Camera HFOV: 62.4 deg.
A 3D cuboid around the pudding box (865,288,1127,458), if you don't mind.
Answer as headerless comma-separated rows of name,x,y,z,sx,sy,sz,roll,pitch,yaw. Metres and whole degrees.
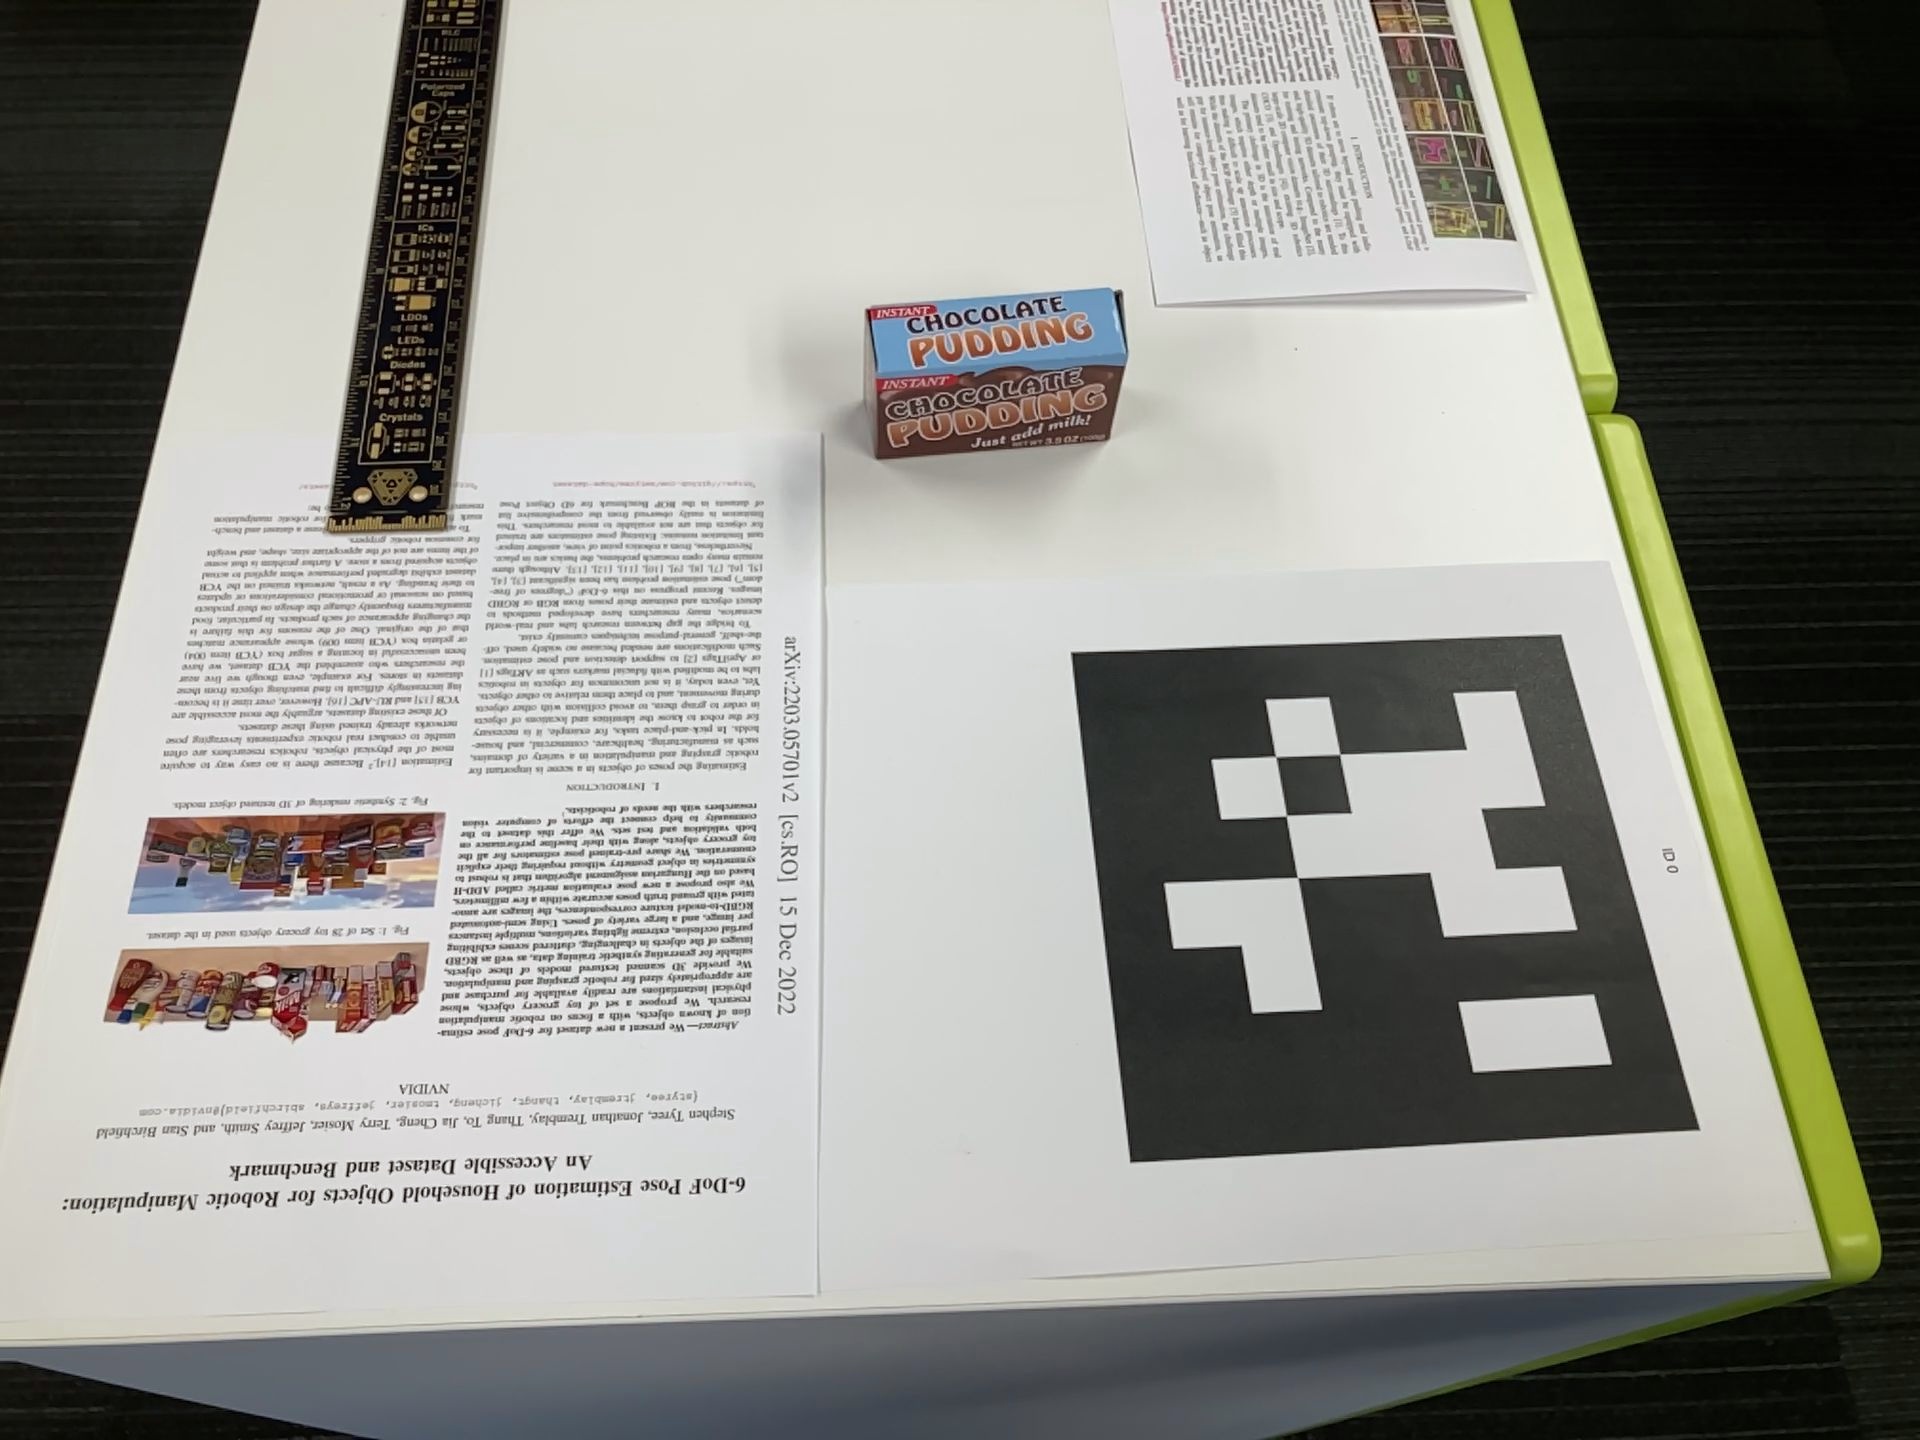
pudding box,0.011,-0.116,0.530,0.083,0.049,0.030,-5,64,-6
